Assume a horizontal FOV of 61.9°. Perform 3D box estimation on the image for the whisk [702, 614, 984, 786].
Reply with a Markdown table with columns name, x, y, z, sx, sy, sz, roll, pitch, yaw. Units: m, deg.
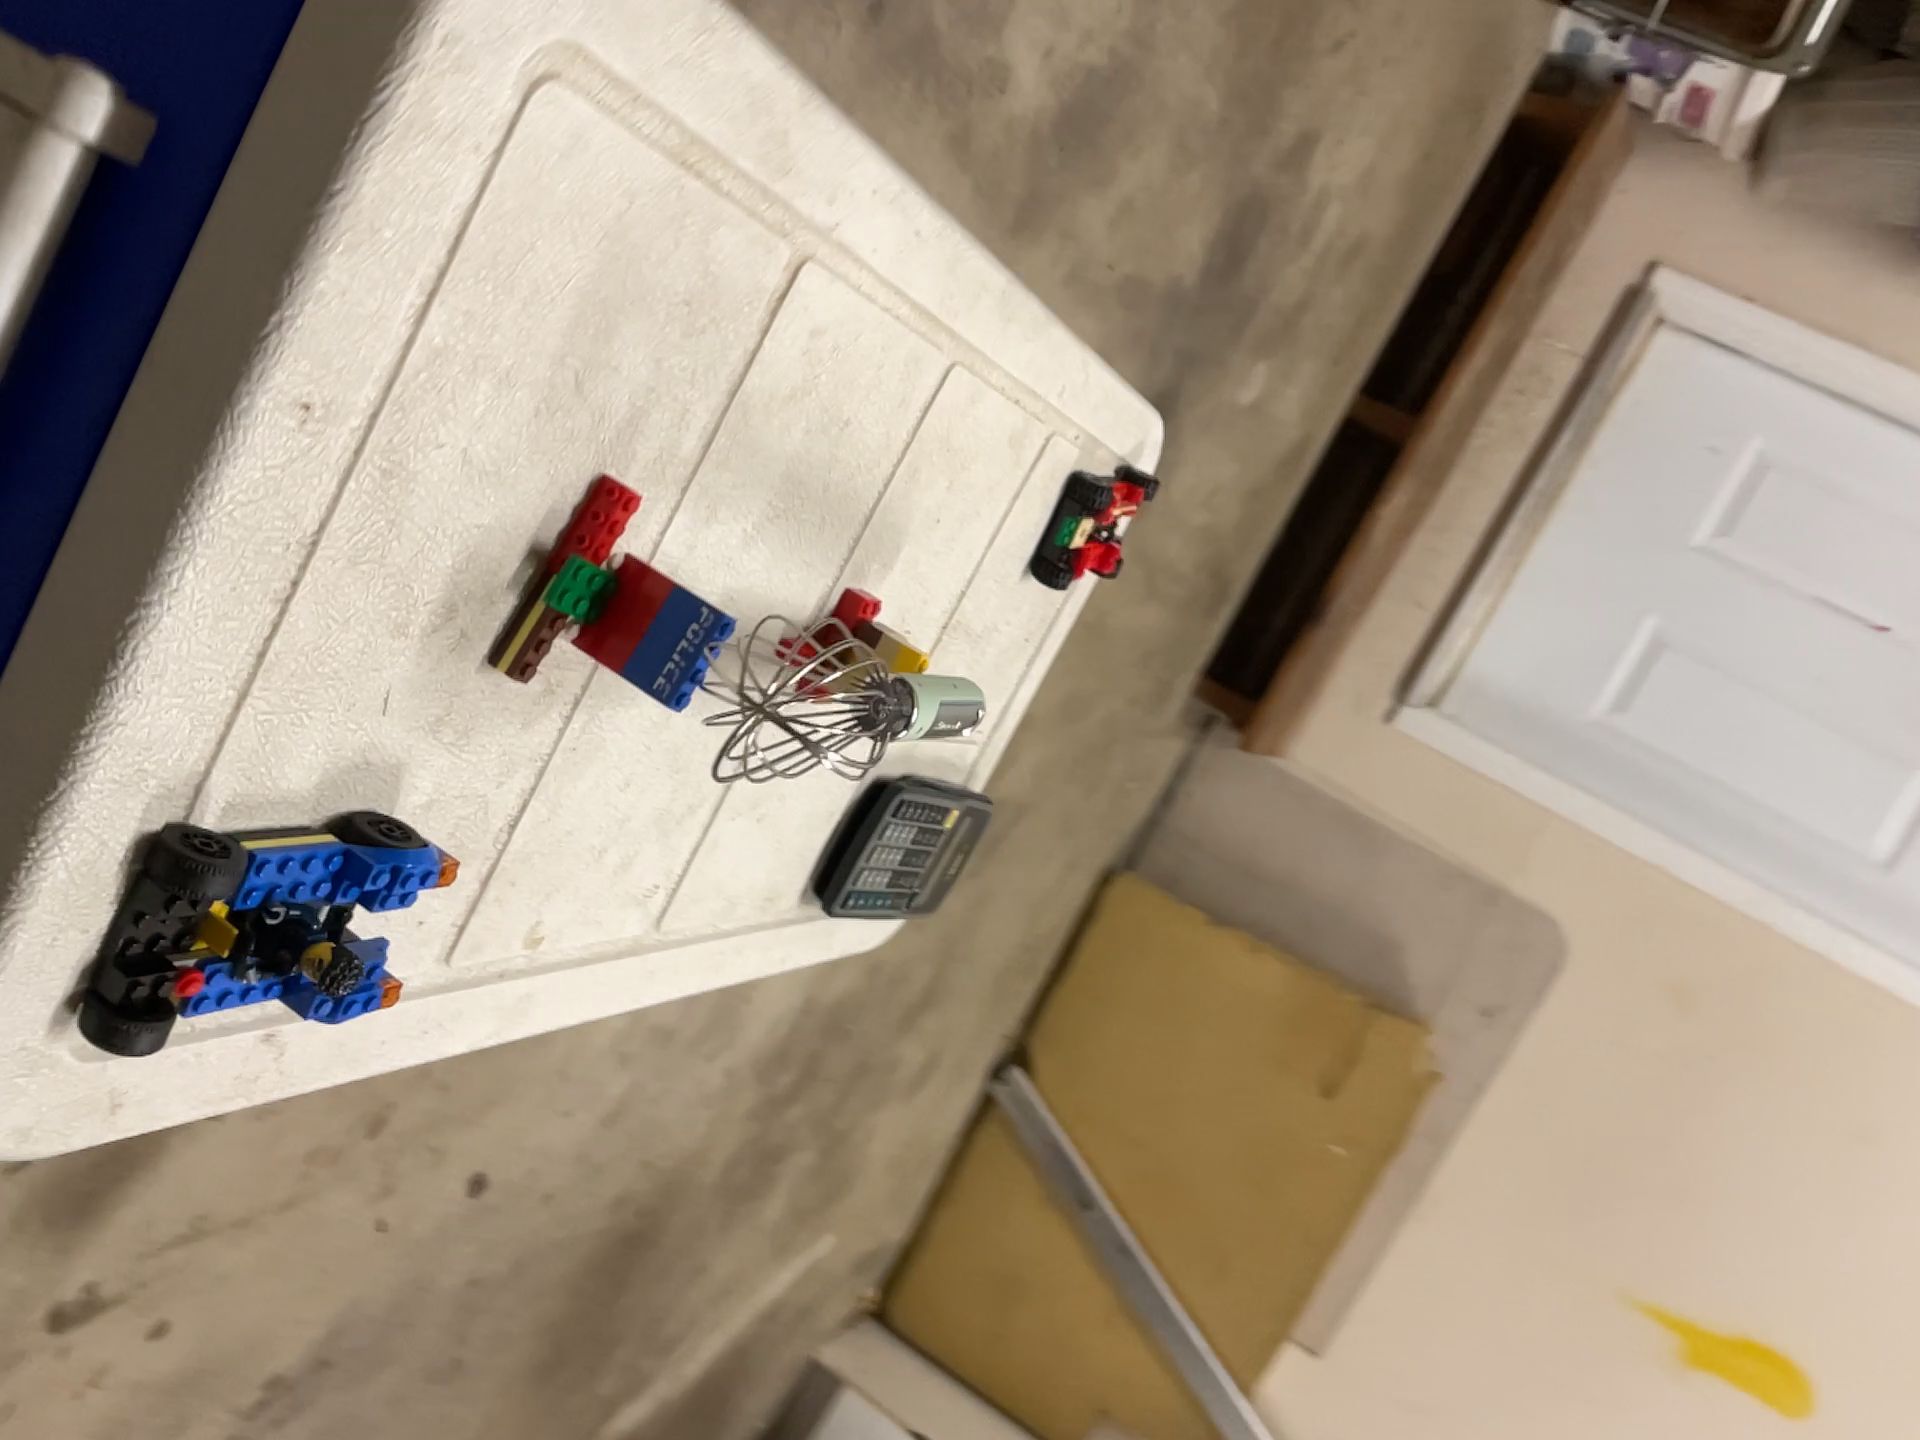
| name | x | y | z | sx | sy | sz | roll | pitch | yaw |
| --- | --- | --- | --- | --- | --- | --- | --- | --- | --- |
| whisk | -0.028 | -0.004 | 0.547 | 0.058 | 0.059 | 0.246 | -54 | 169 | 8 |
